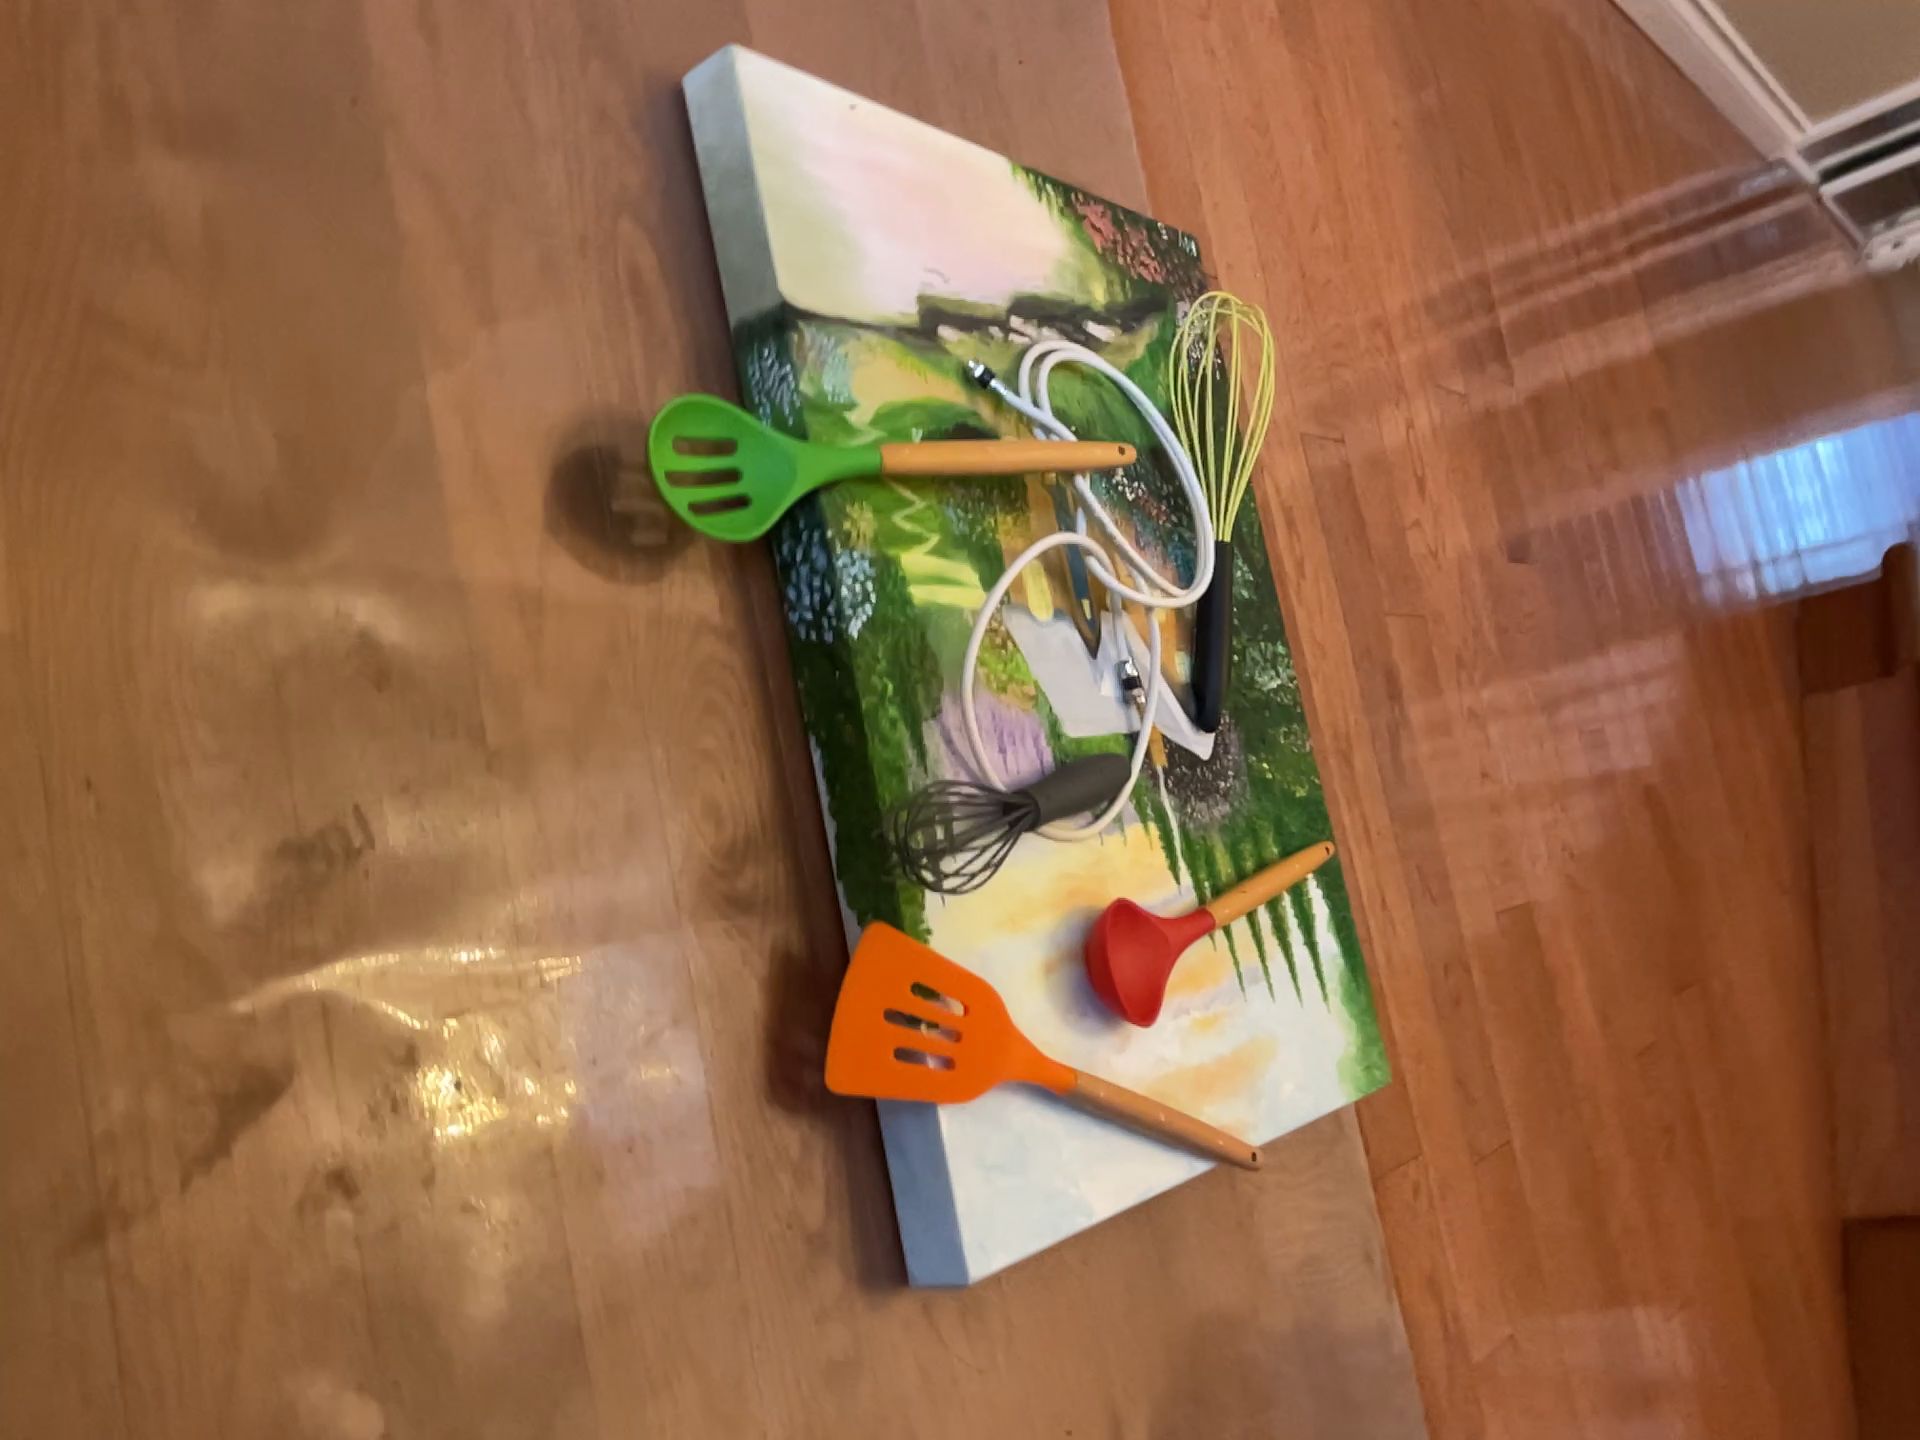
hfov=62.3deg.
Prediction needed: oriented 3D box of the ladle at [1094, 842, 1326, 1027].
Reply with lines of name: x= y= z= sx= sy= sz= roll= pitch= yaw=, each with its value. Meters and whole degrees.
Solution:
ladle: x=0.157 y=0.112 z=0.950 sx=0.315 sy=0.031 sz=0.069 roll=-16 pitch=90 yaw=-55

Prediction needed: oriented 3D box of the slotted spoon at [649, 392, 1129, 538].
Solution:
slotted spoon: x=-0.025 y=-0.131 z=0.808 sx=0.313 sy=0.031 sz=0.070 roll=-9 pitch=83 yaw=-40

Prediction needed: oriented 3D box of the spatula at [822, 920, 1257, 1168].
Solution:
spatula: x=0.059 y=0.189 z=0.814 sx=0.322 sy=0.041 sz=0.081 roll=32 pitch=64 yaw=-42

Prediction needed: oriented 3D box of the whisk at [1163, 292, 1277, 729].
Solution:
whisk: x=0.166 y=-0.143 z=1.044 sx=0.079 sy=0.067 sz=0.312 roll=19 pitch=67 yaw=-40

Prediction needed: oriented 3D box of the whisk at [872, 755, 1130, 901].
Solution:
whisk: x=0.033 y=0.044 z=0.807 sx=0.239 sy=0.055 sz=0.055 roll=-16 pitch=100 yaw=-58
